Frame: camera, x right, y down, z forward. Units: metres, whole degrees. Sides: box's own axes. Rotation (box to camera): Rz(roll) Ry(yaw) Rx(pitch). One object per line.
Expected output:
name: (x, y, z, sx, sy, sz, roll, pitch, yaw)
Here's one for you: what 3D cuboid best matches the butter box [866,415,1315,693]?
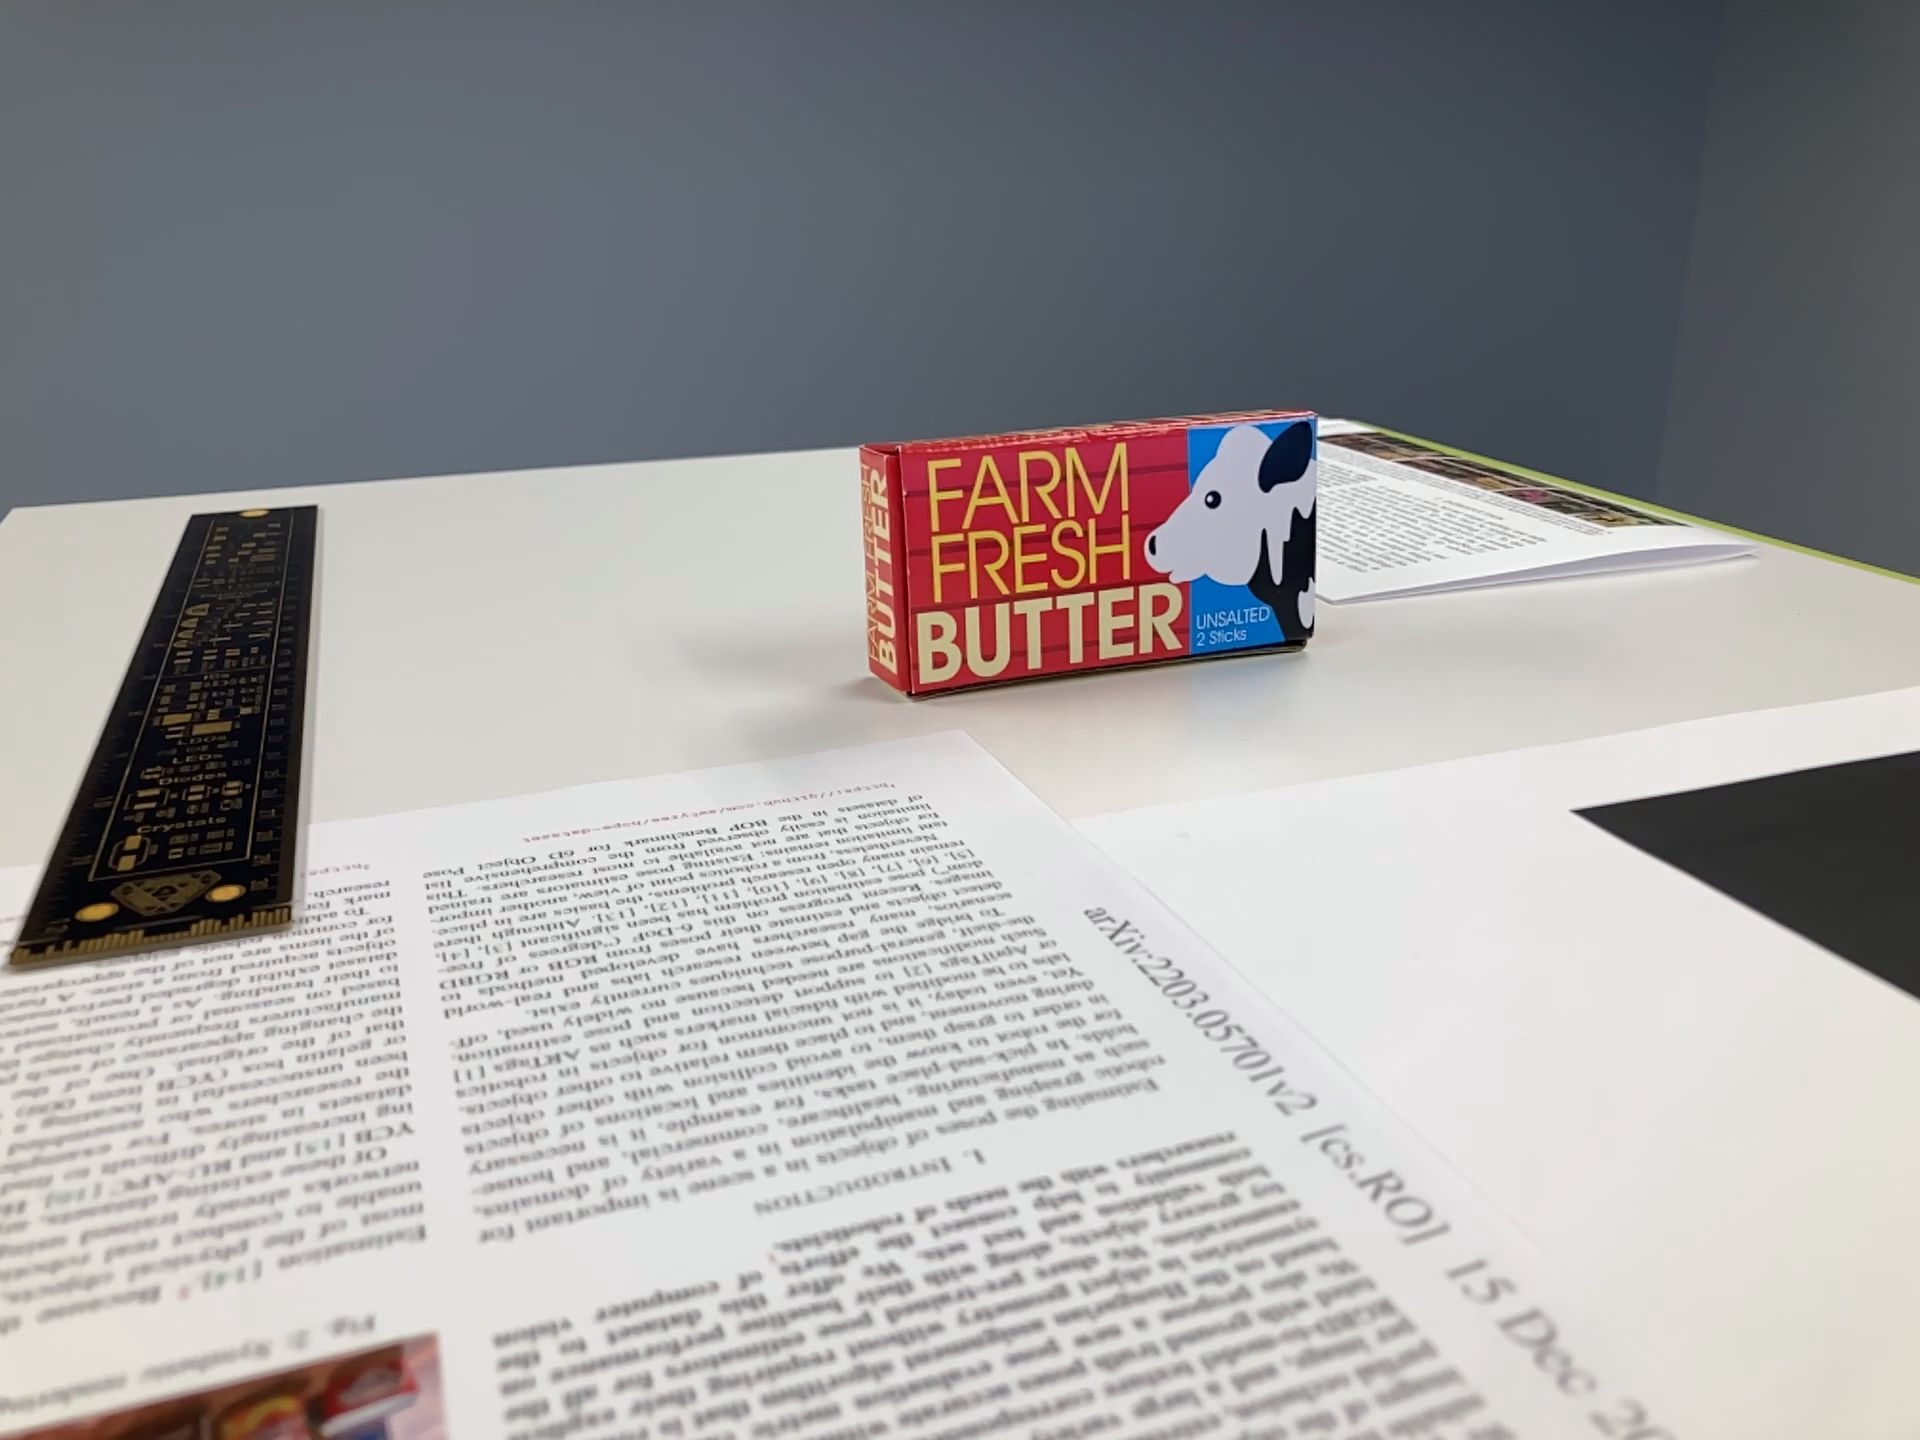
butter box: (0.032, -0.040, 0.362, 0.103, 0.053, 0.024, -8, 16, -19)
